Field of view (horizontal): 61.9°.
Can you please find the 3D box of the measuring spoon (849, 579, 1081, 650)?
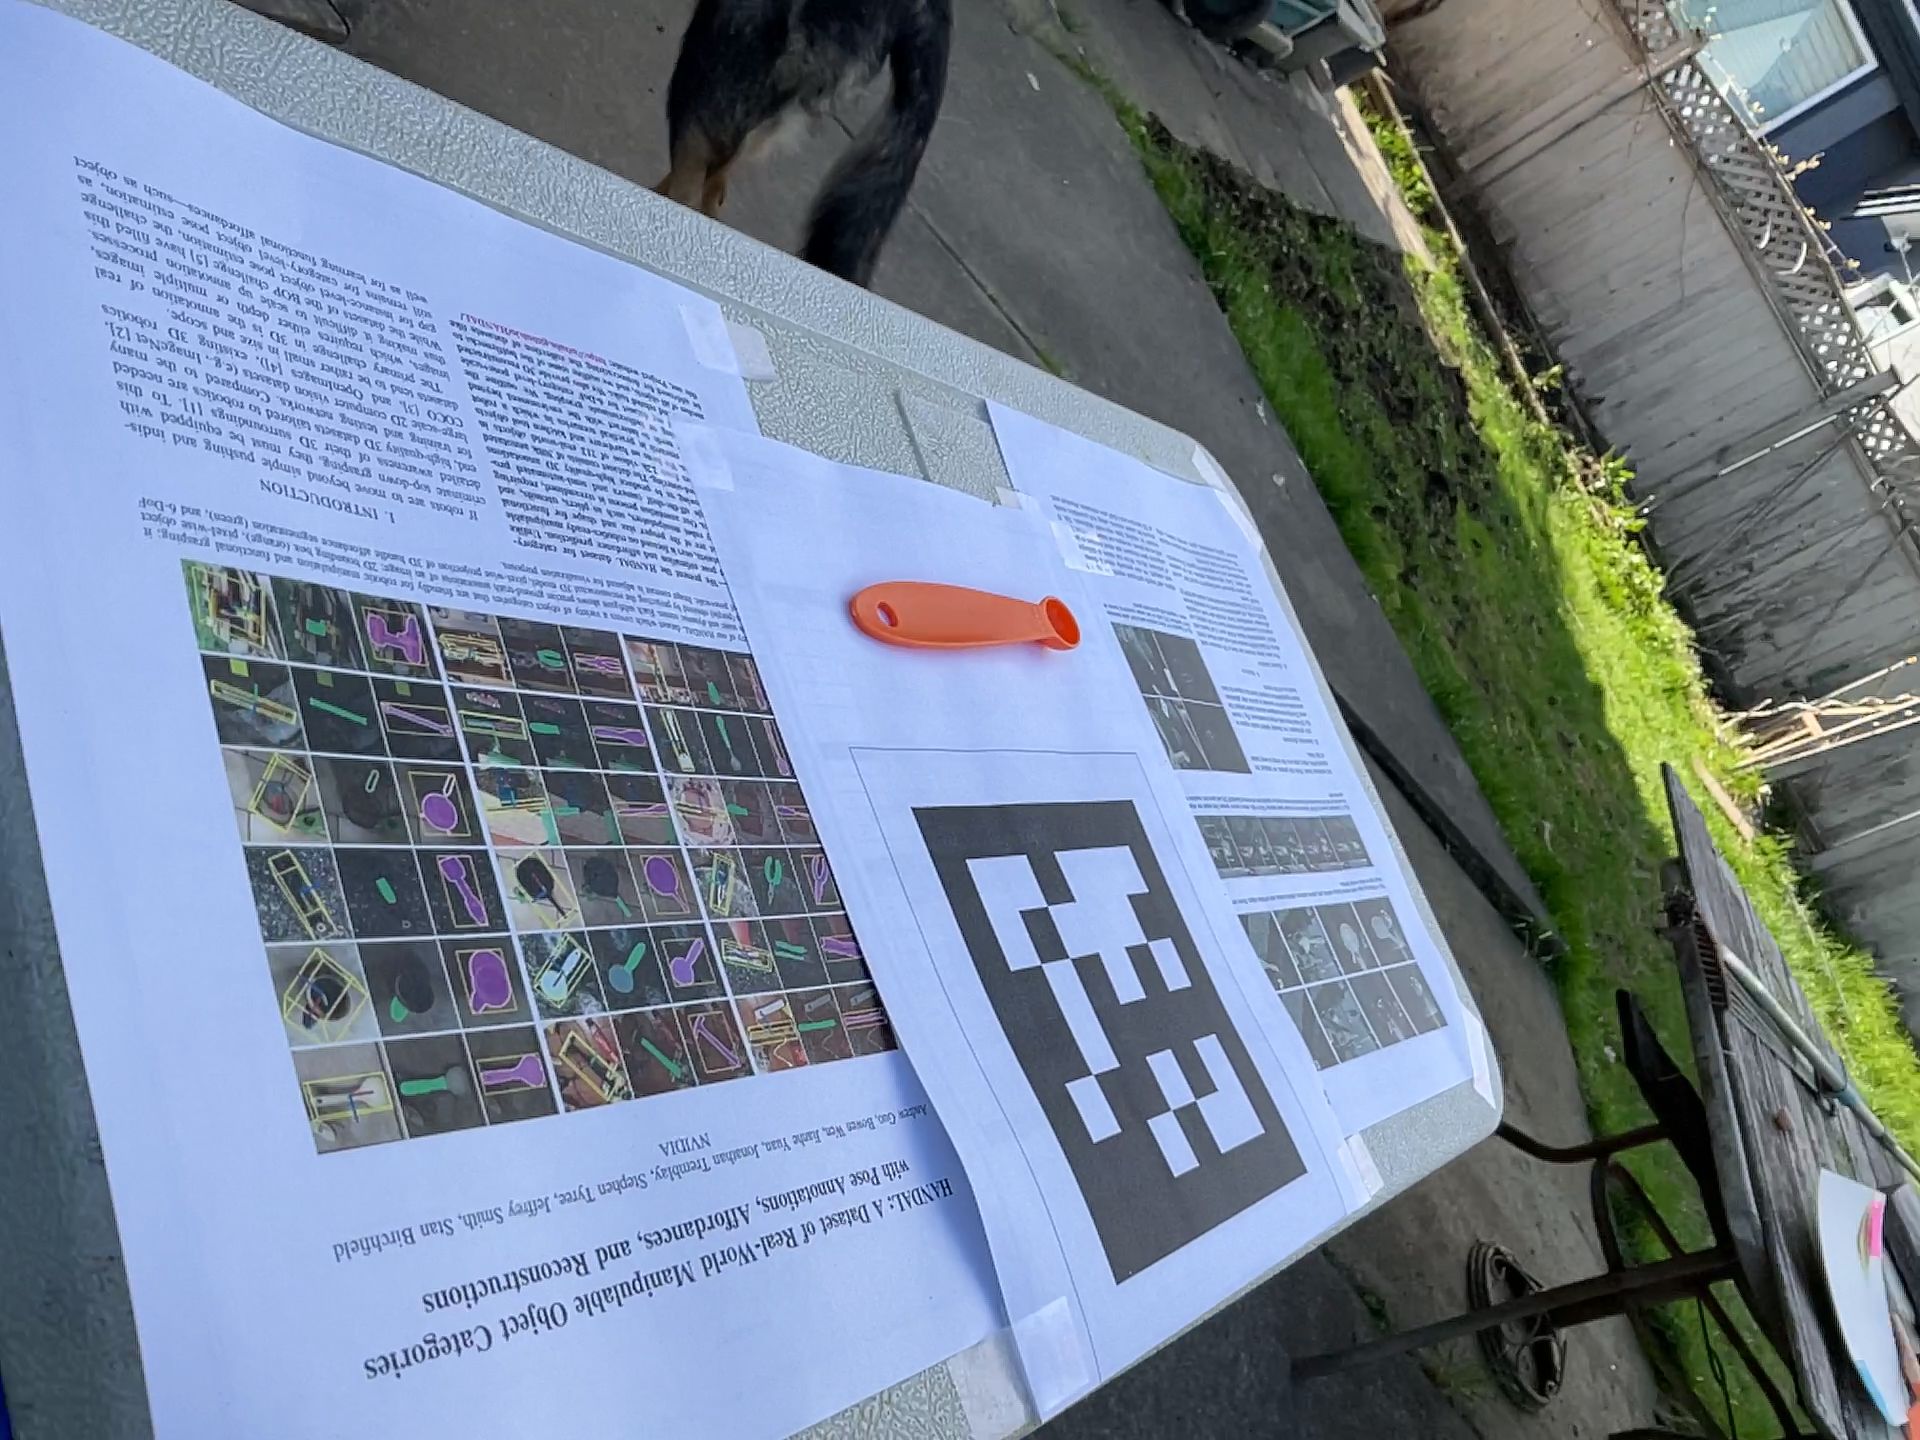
[{"bbox_3d":[0.002,-0.030,0.484,0.117,0.011,0.021,-2,66,-55],"label":"measuring spoon"}]
